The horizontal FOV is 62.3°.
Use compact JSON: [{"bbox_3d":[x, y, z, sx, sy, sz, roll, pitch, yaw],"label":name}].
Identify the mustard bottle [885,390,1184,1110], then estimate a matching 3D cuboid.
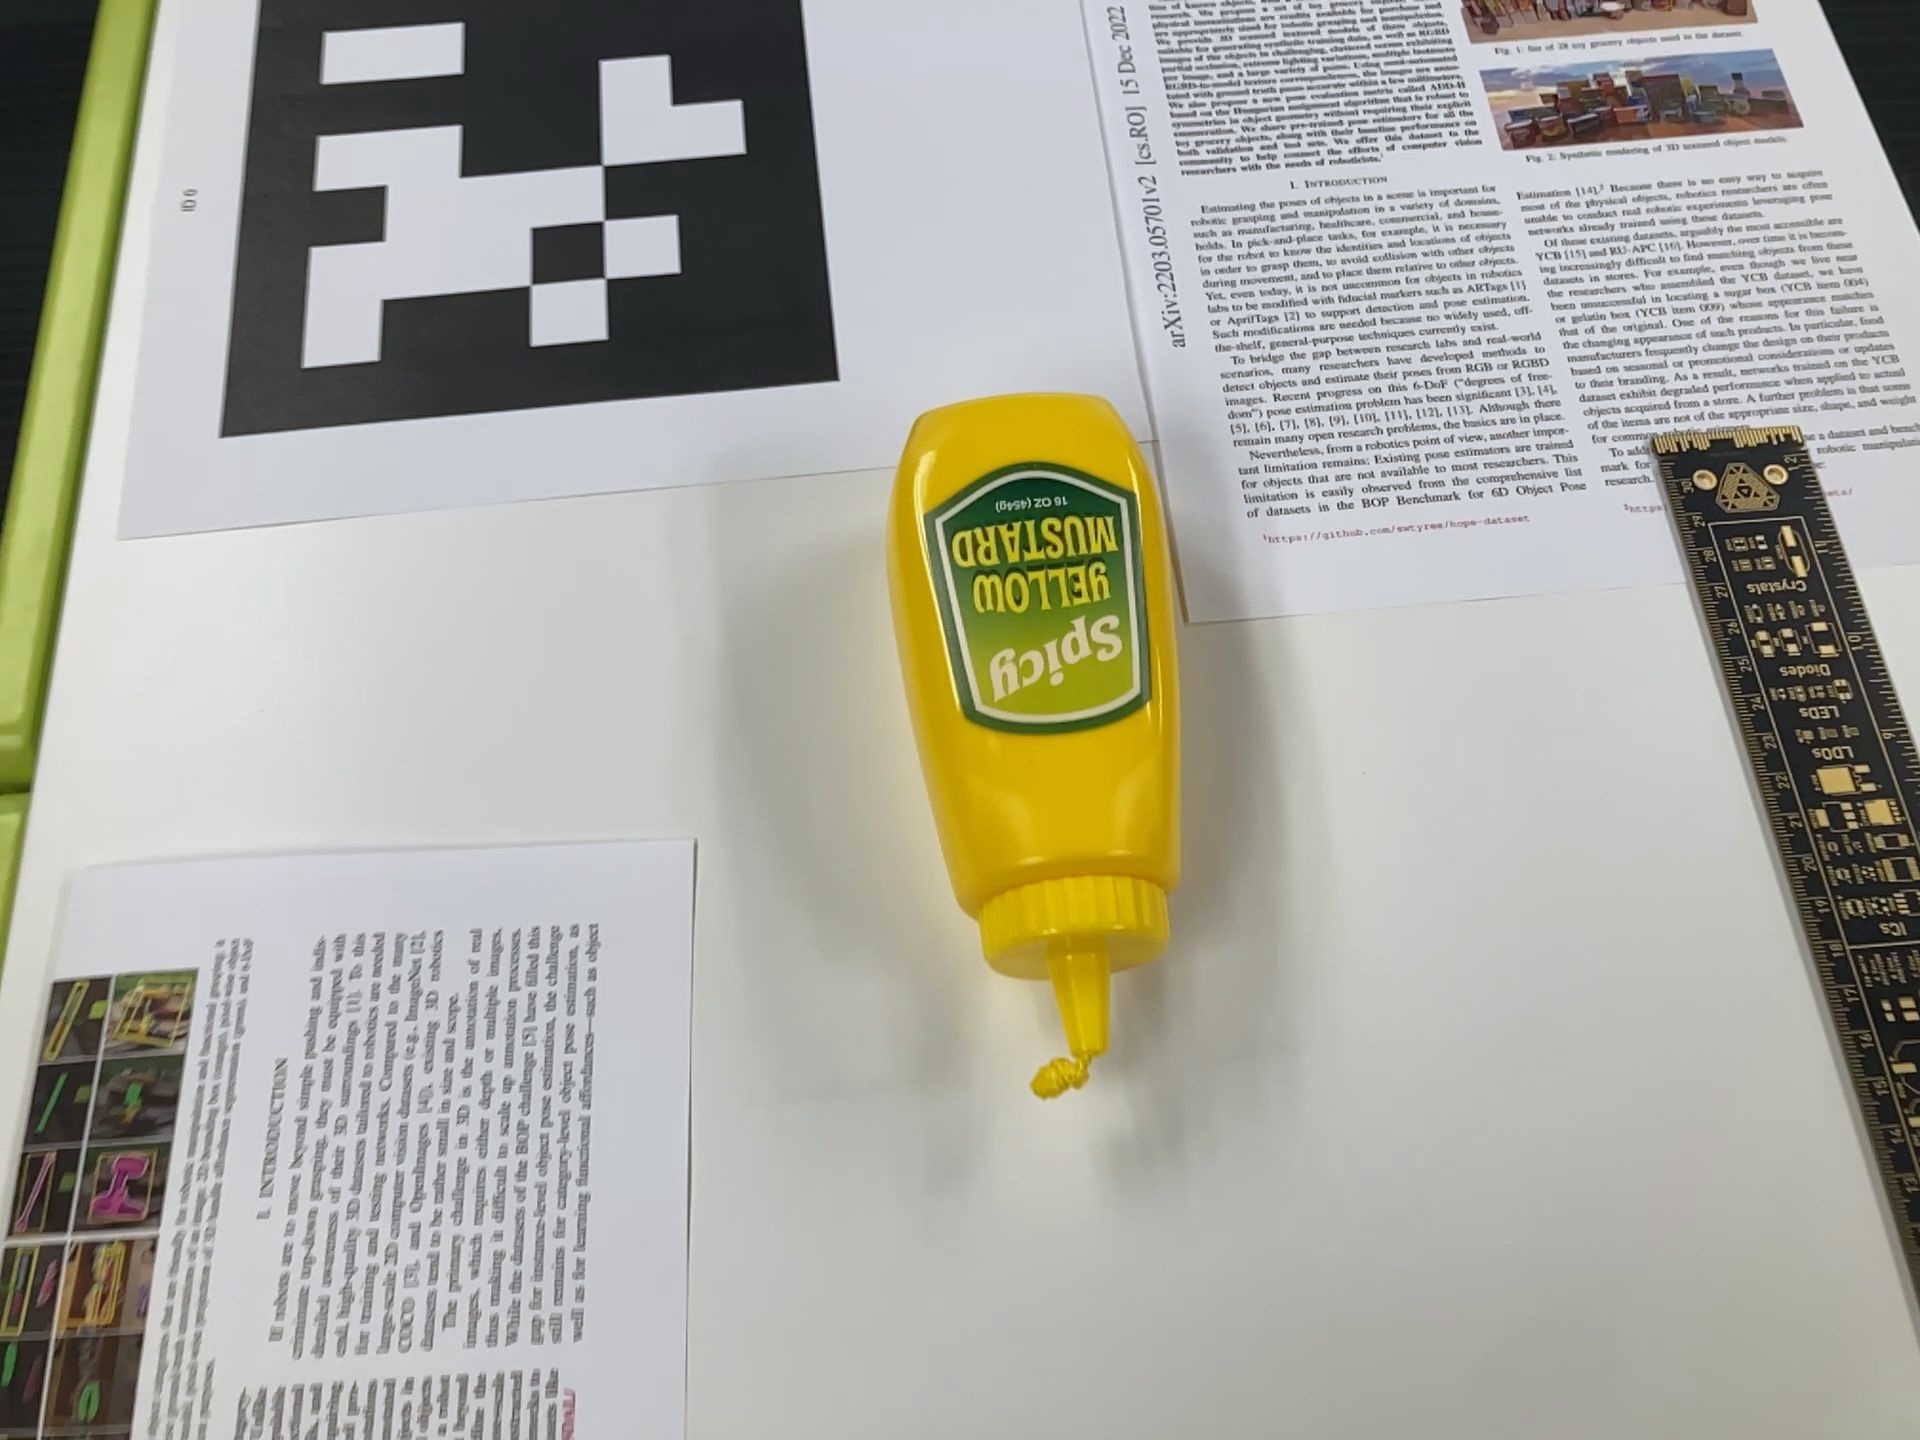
[{"bbox_3d":[0.020,0.004,0.349,0.065,0.049,0.160,-6,66,-2],"label":"mustard bottle"}]
